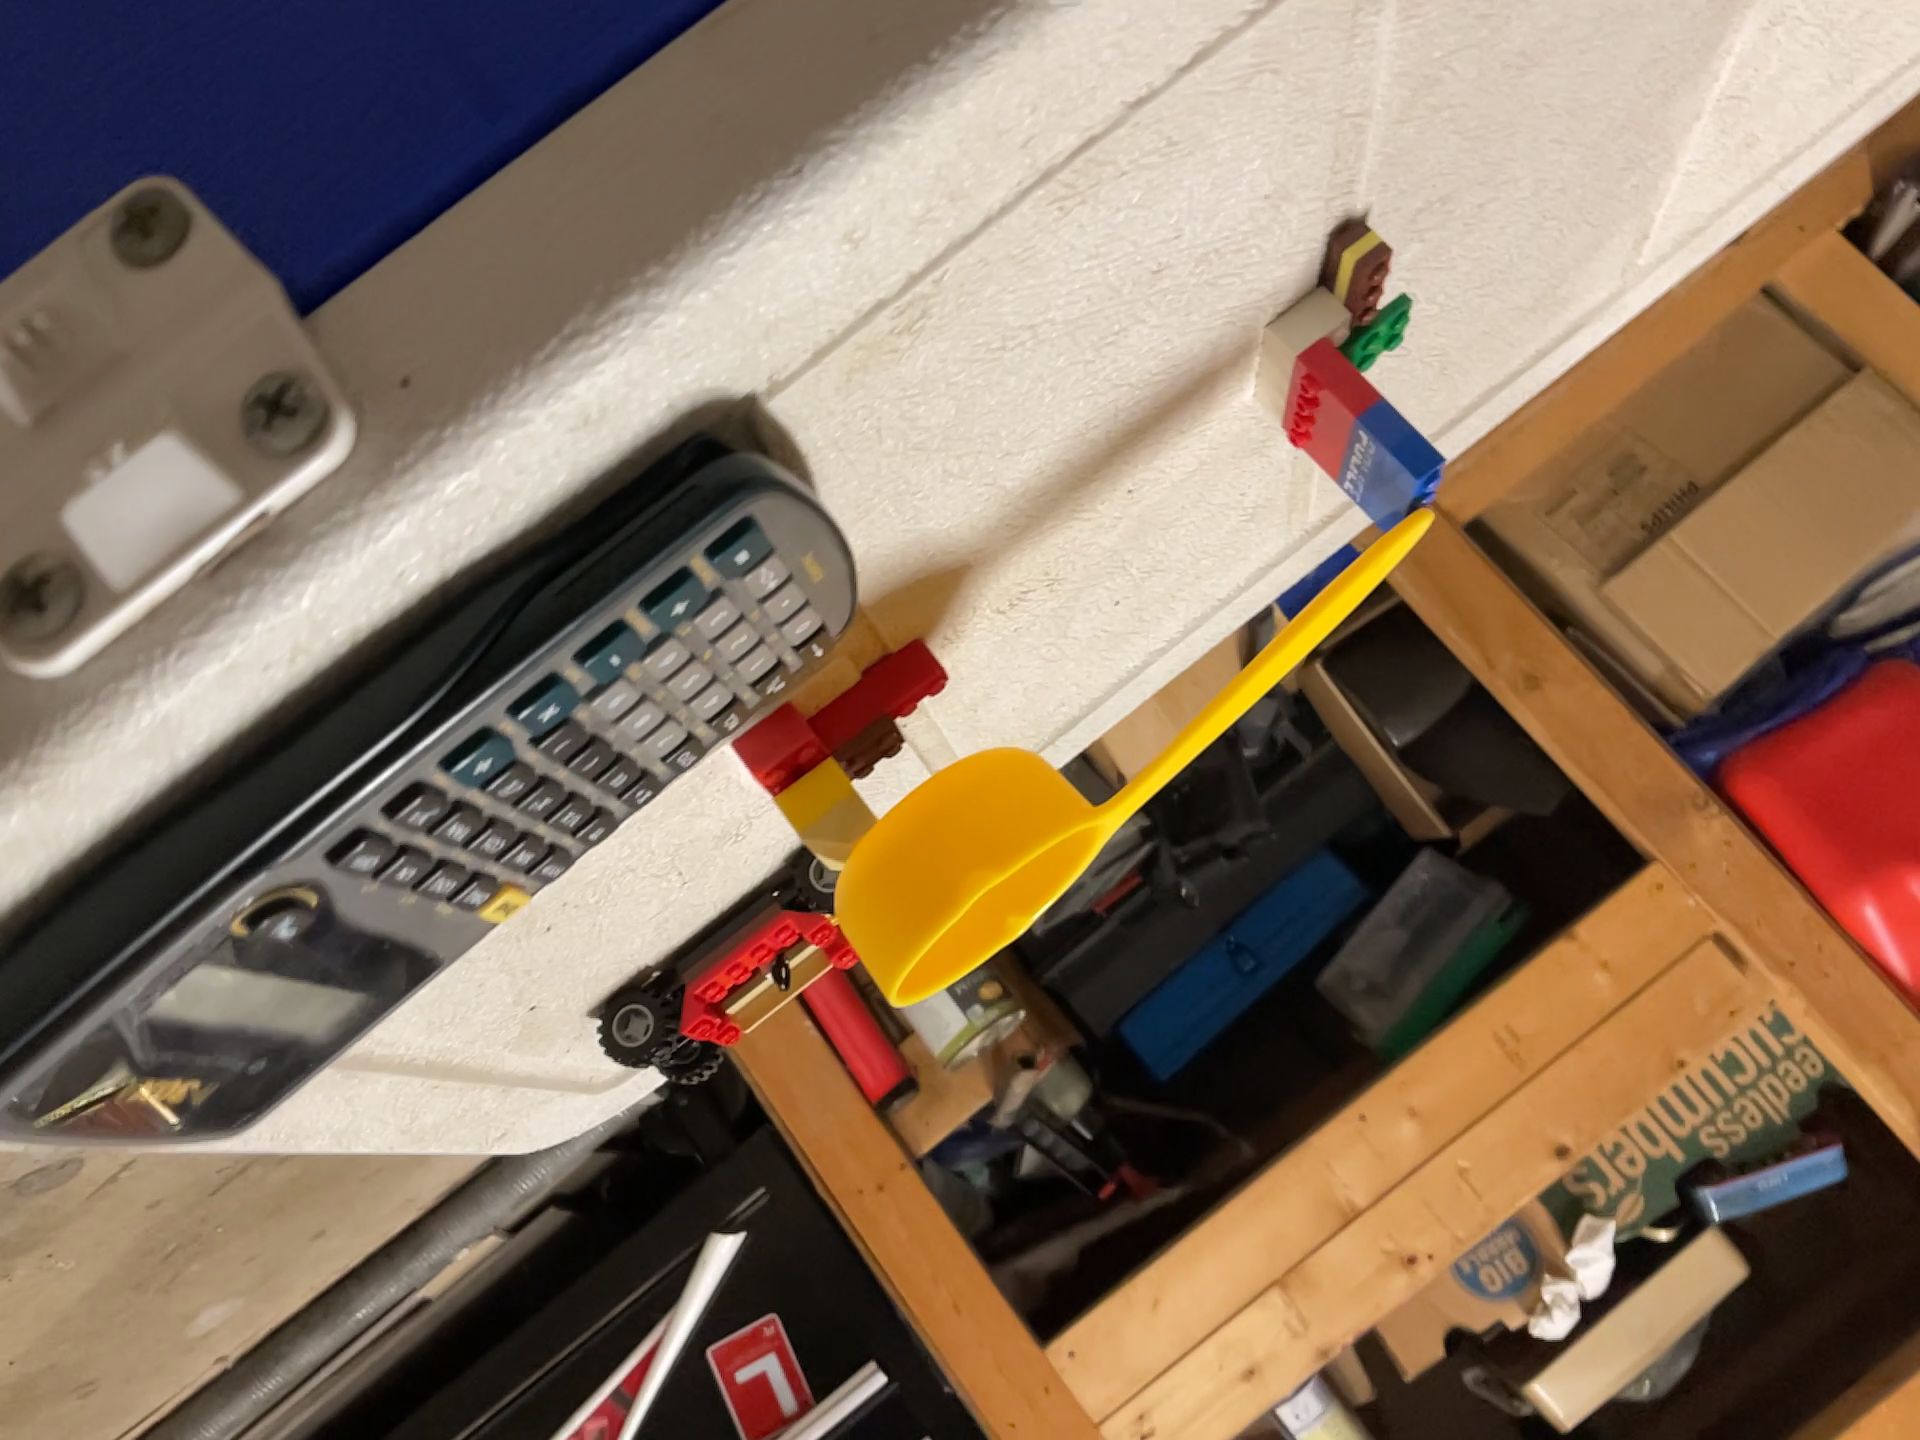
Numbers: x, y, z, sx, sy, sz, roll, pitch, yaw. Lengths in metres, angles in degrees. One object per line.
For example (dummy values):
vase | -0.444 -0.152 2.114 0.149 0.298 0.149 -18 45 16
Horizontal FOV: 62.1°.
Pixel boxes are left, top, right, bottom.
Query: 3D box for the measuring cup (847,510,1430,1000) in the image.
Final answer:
measuring cup | 0.038 -0.001 0.351 0.156 0.029 0.062 -42 163 -4
